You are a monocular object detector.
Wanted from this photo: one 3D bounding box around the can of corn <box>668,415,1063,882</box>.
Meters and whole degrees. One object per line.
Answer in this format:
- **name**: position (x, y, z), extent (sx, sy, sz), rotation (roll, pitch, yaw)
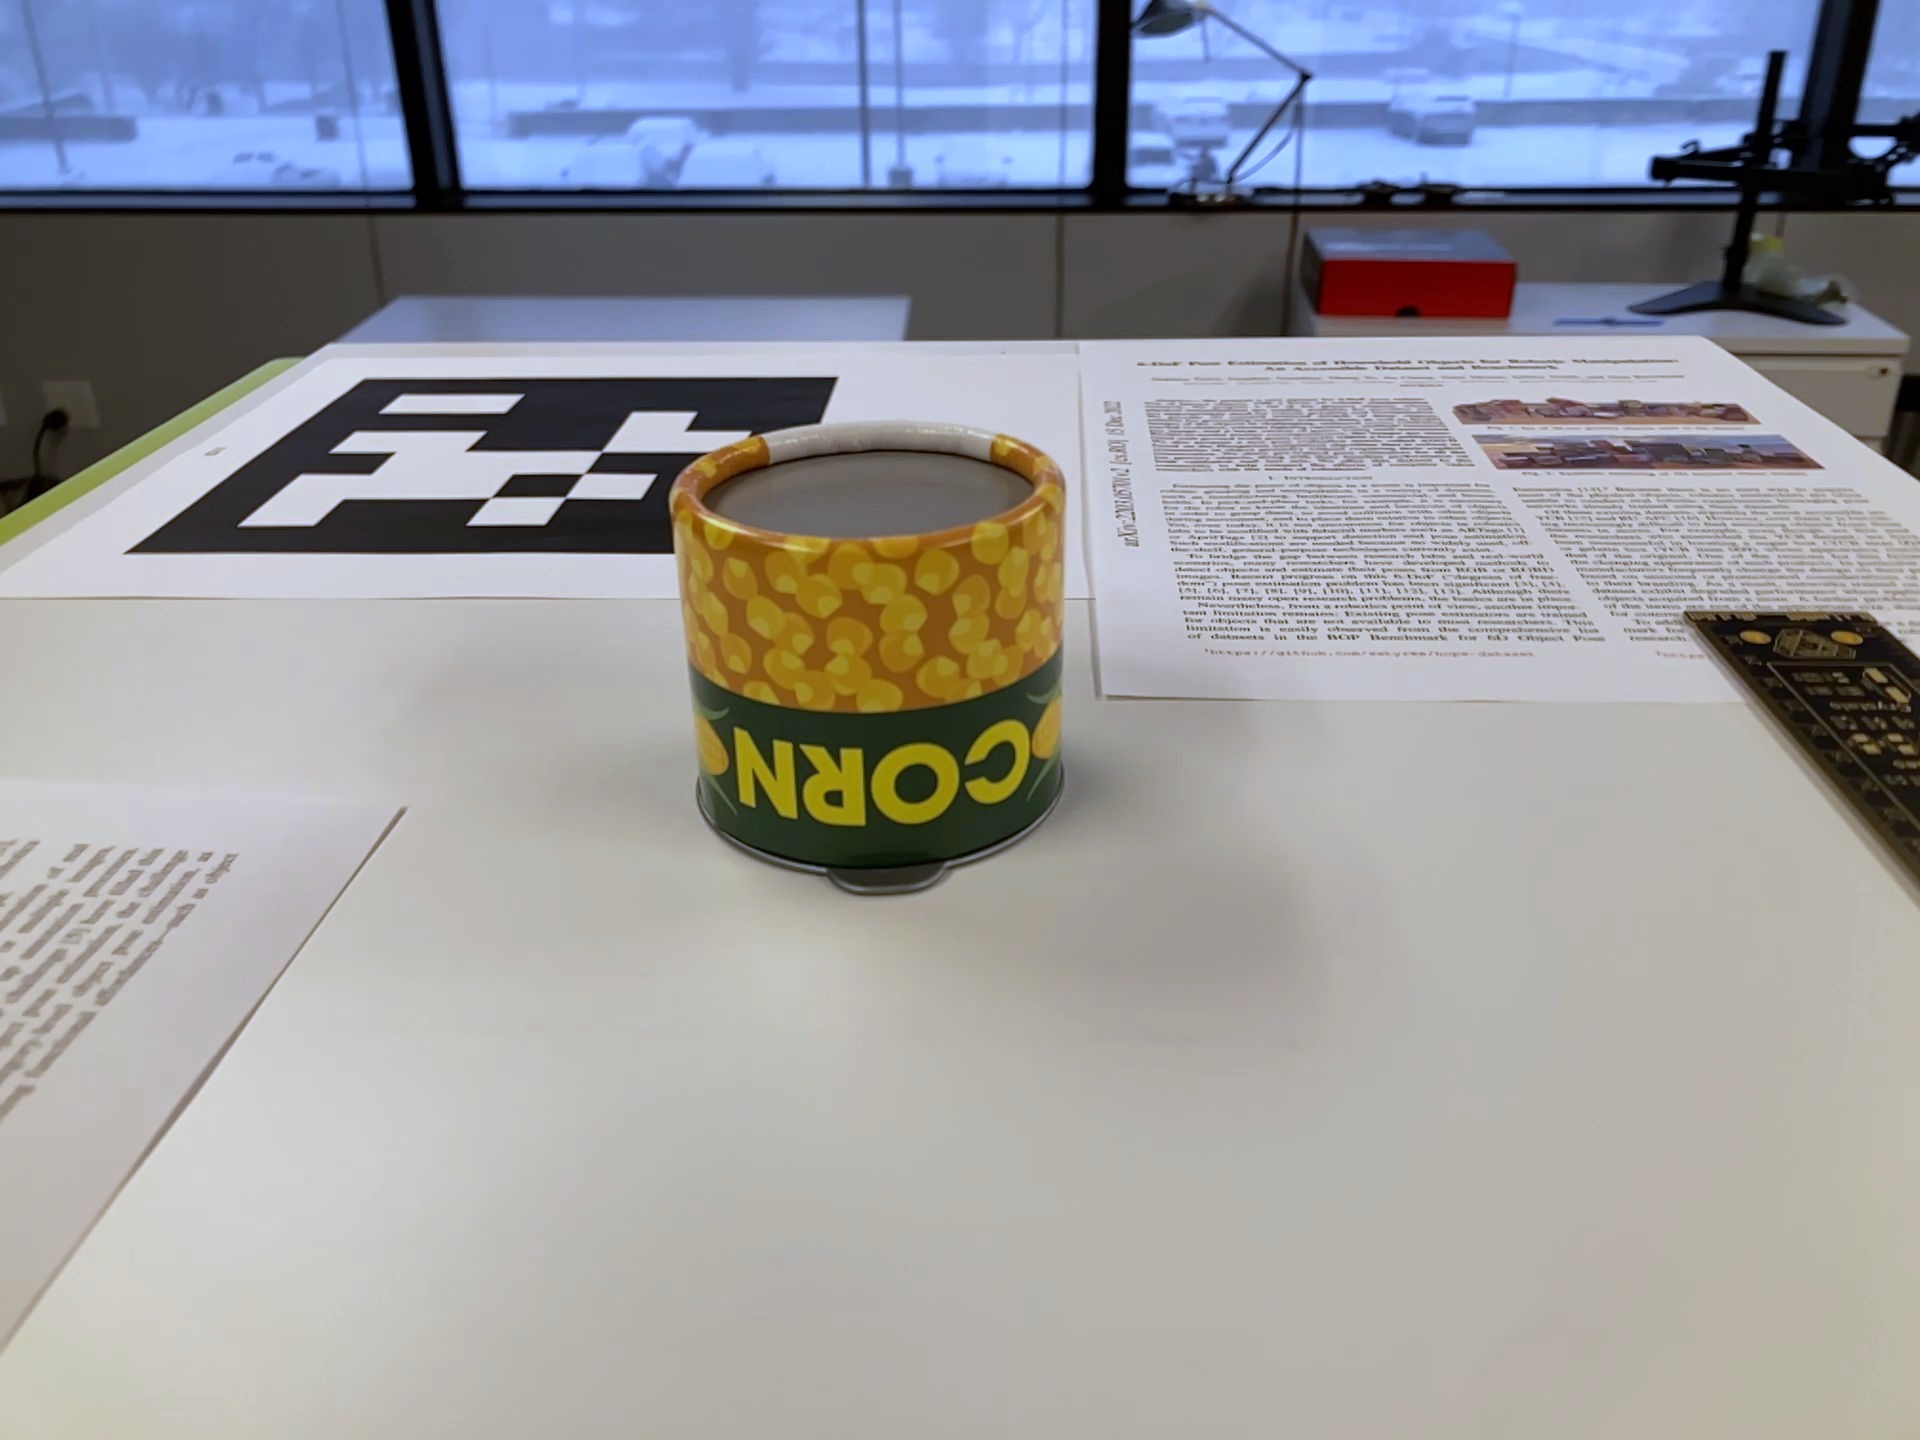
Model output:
- **can of corn**: position (-0.015, -0.015, 0.273), extent (0.071, 0.058, 0.071), rotation (-1, 26, 0)
